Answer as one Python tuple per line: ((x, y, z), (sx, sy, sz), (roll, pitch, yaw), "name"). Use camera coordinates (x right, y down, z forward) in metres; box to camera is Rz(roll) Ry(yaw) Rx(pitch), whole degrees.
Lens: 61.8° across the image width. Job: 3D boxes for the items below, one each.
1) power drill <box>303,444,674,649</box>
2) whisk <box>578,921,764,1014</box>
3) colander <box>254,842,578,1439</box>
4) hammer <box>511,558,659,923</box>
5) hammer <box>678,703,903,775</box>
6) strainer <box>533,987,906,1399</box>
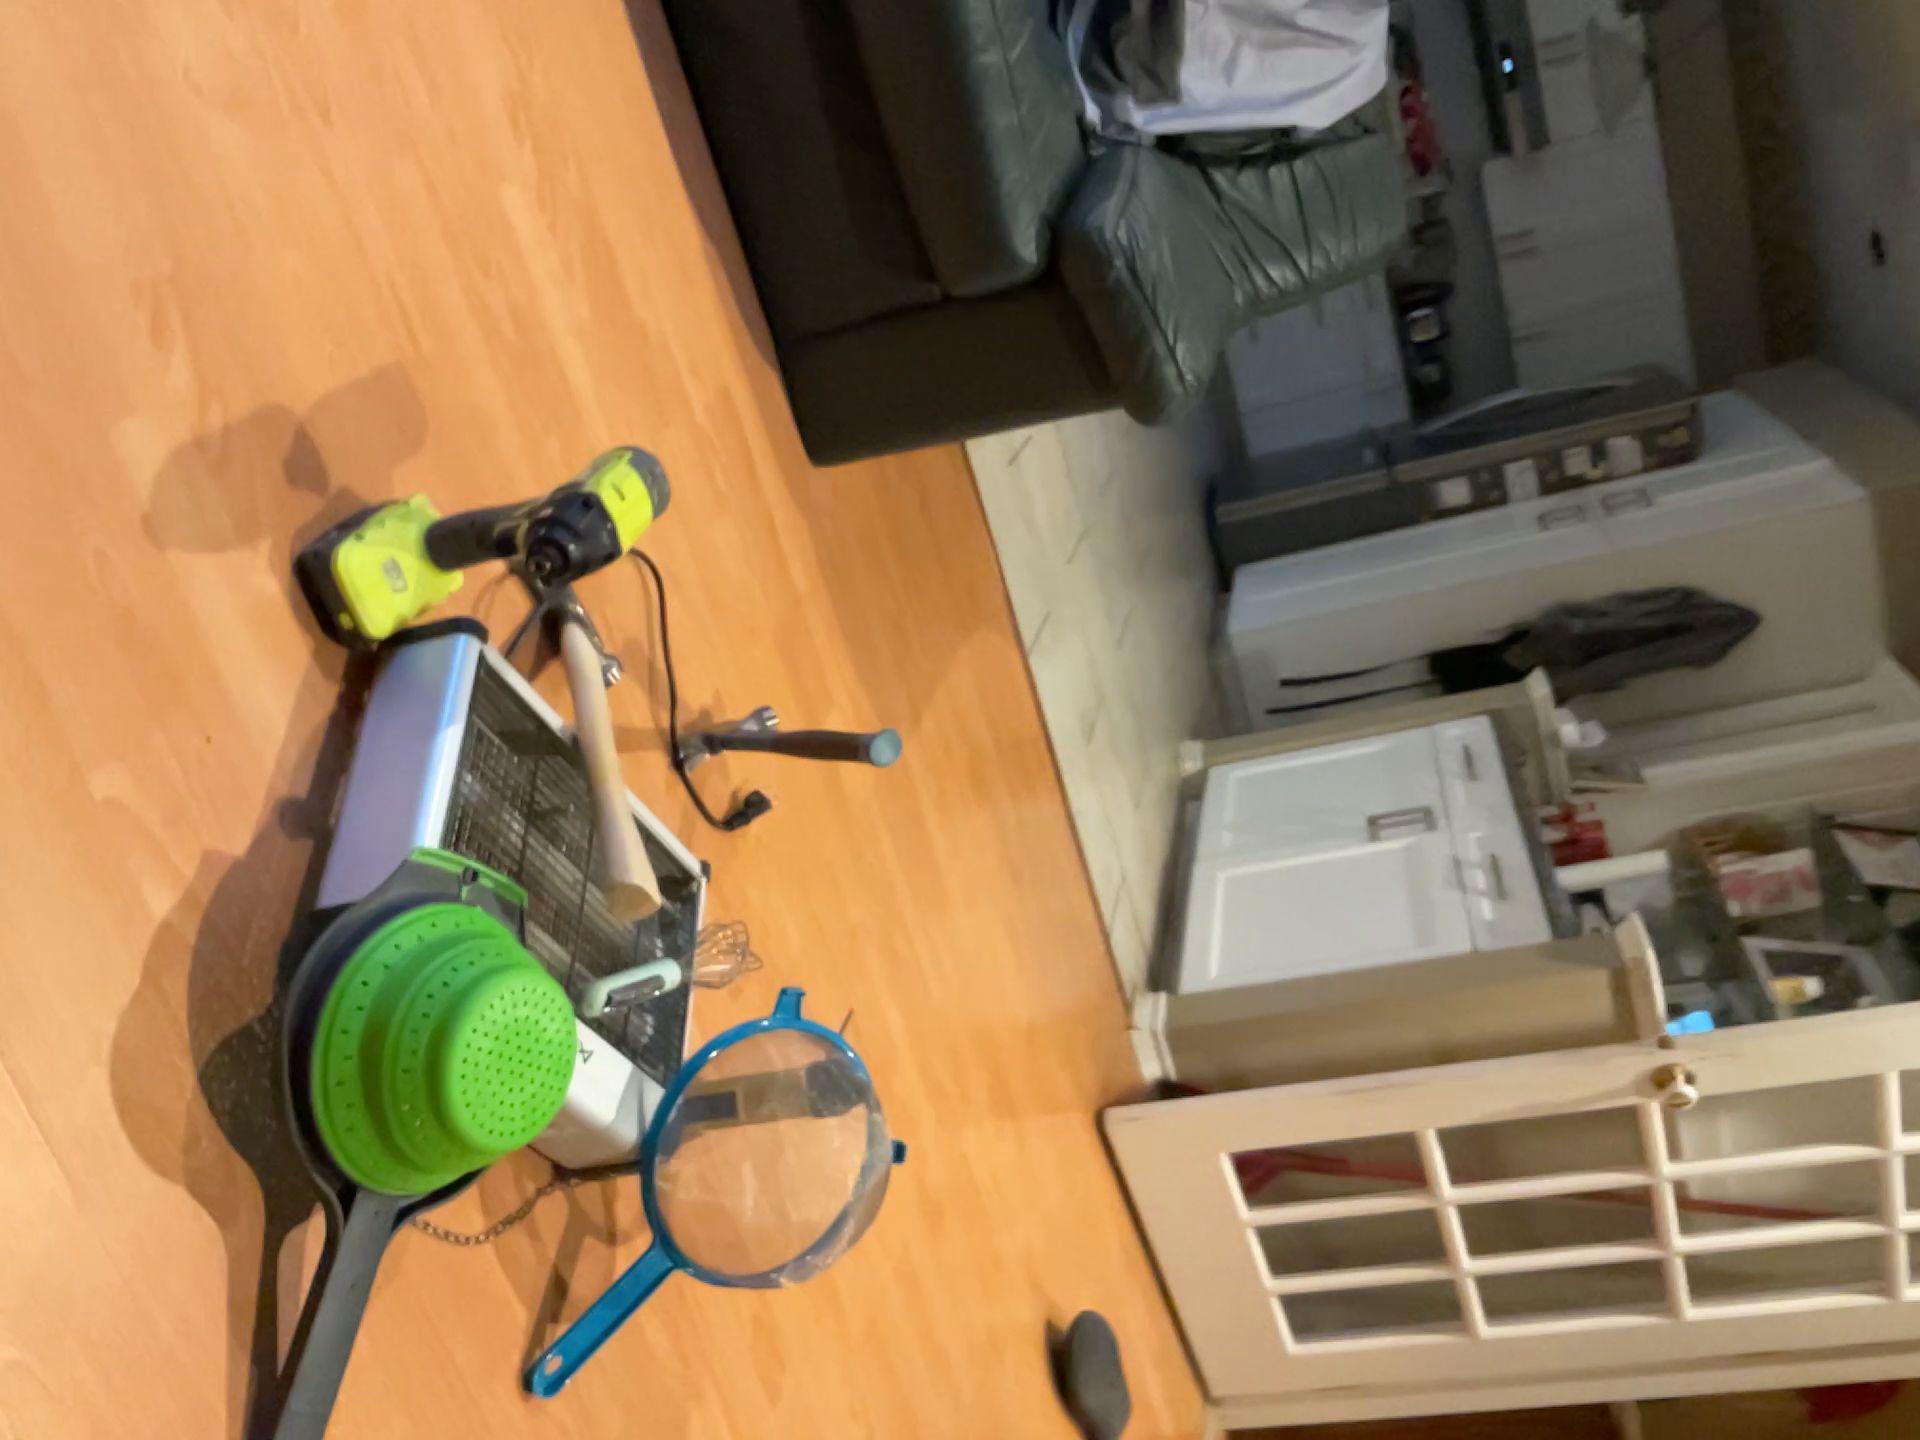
((-0.326, -0.121, 1.109), (0.171, 0.223, 0.080), (-68, 143, -61), "power drill")
((-0.225, 0.198, 1.261), (0.246, 0.059, 0.057), (-3, 111, -70), "whisk")
((-0.318, 0.273, 0.943), (0.204, 0.094, 0.397), (42, 56, -53), "colander")
((-0.283, 0.007, 1.225), (0.411, 0.038, 0.146), (-119, -175, -54), "hammer")
((-0.154, 0.019, 1.485), (0.128, 0.331, 0.033), (-23, 104, -33), "hammer")
((-0.171, 0.379, 1.203), (0.341, 0.095, 0.210), (-43, 116, -29), "strainer")
